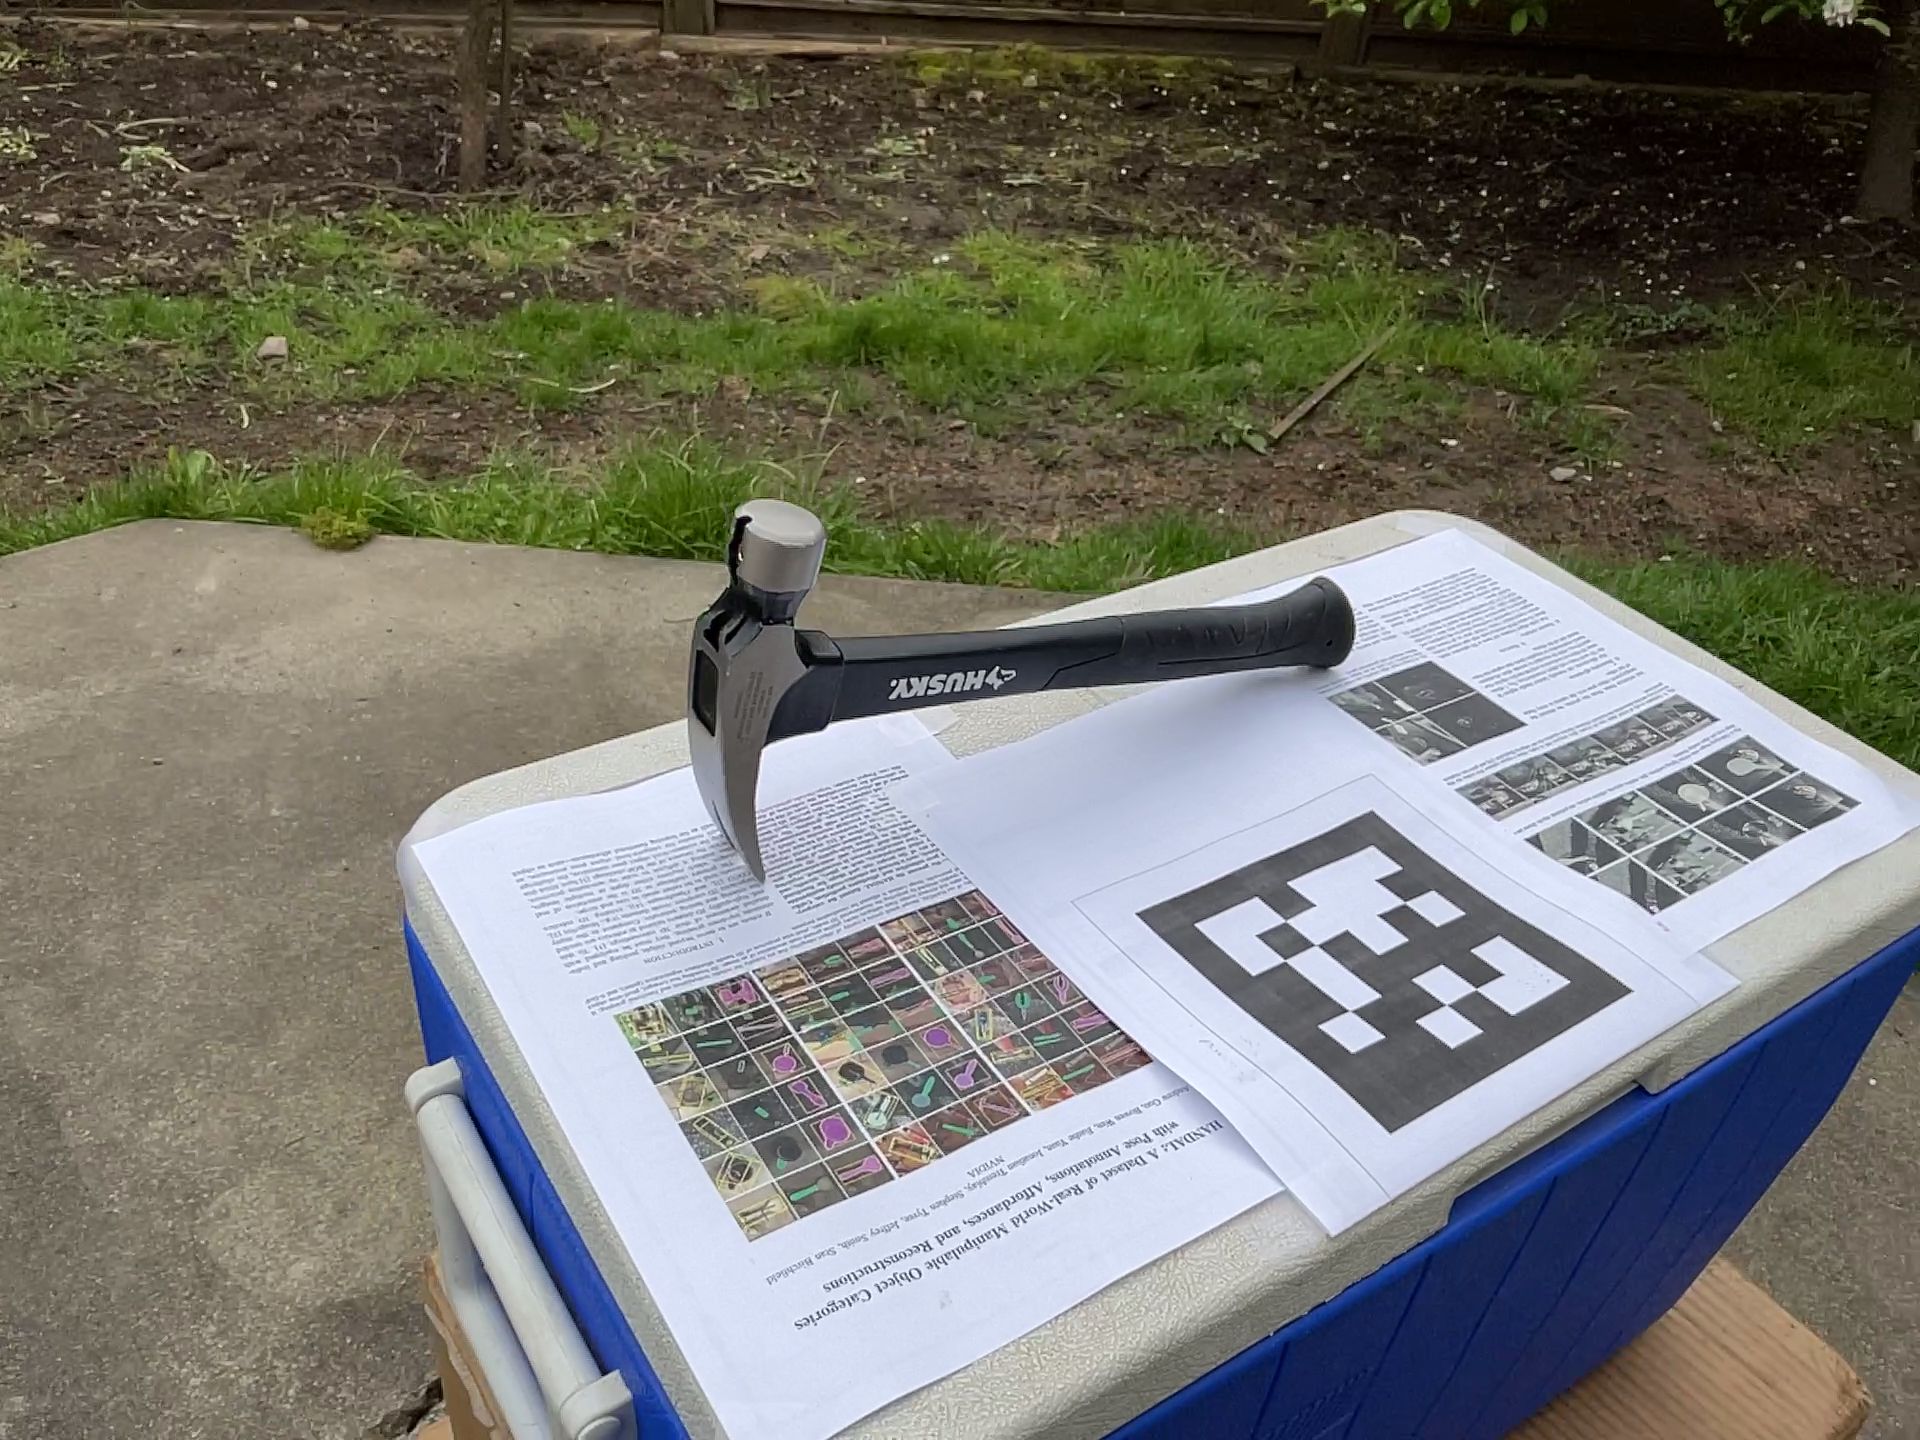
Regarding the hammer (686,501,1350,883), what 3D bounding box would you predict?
[{"bbox_3d":[0.041,-0.021,0.659,0.334,0.146,0.035,-7,37,-36],"label":"hammer"}]
